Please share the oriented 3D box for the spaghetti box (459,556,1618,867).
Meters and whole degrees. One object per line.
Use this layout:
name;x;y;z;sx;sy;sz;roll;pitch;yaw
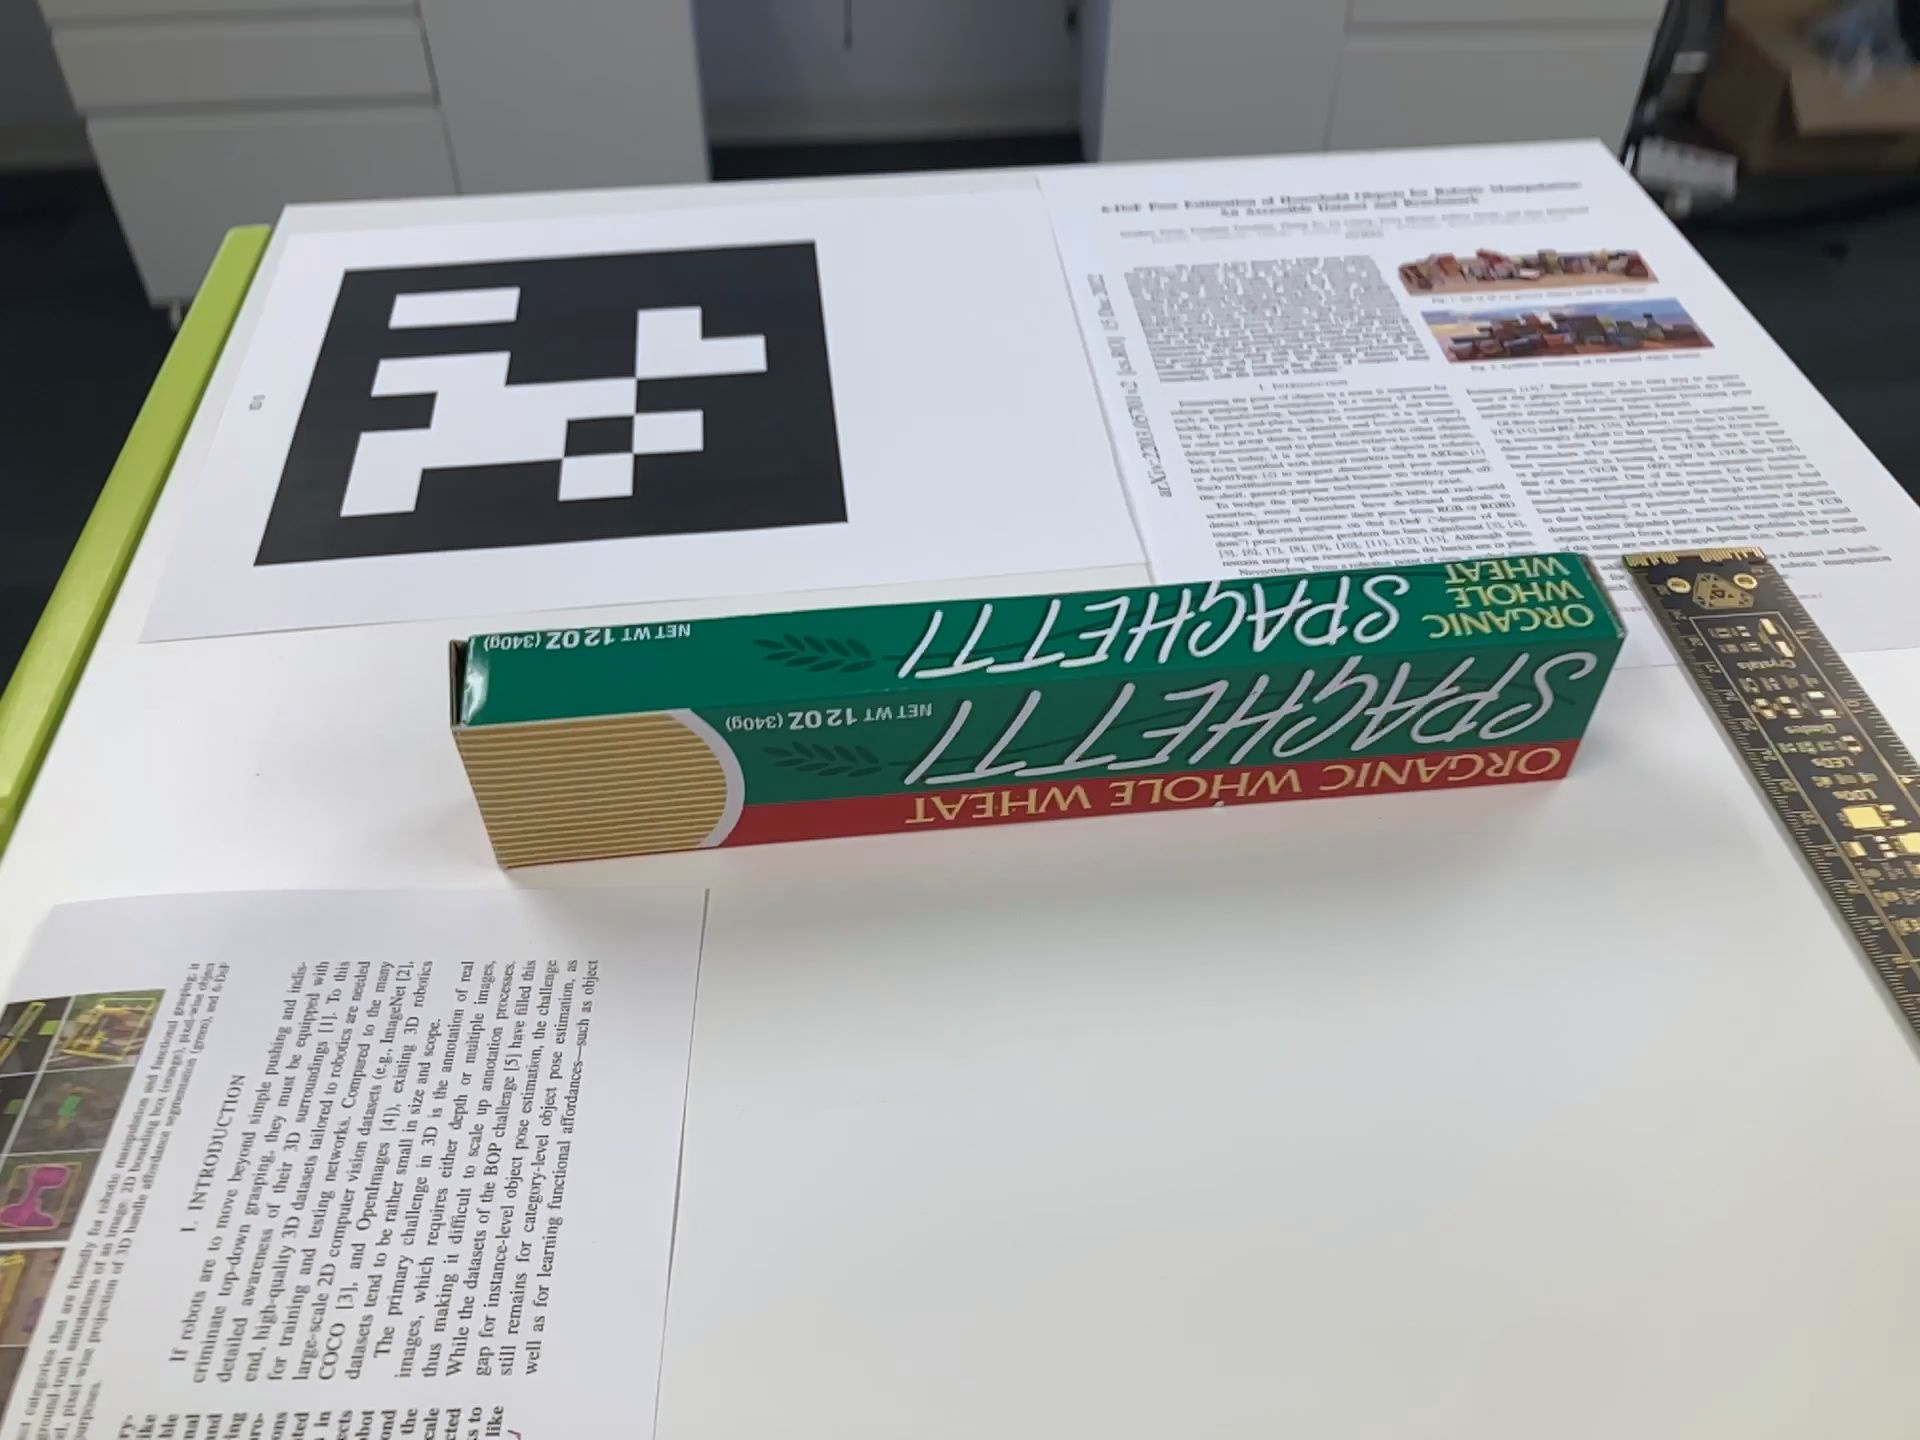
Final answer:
spaghetti box;0.019;-0.003;0.357;0.250;0.050;0.028;-4;49;-5
